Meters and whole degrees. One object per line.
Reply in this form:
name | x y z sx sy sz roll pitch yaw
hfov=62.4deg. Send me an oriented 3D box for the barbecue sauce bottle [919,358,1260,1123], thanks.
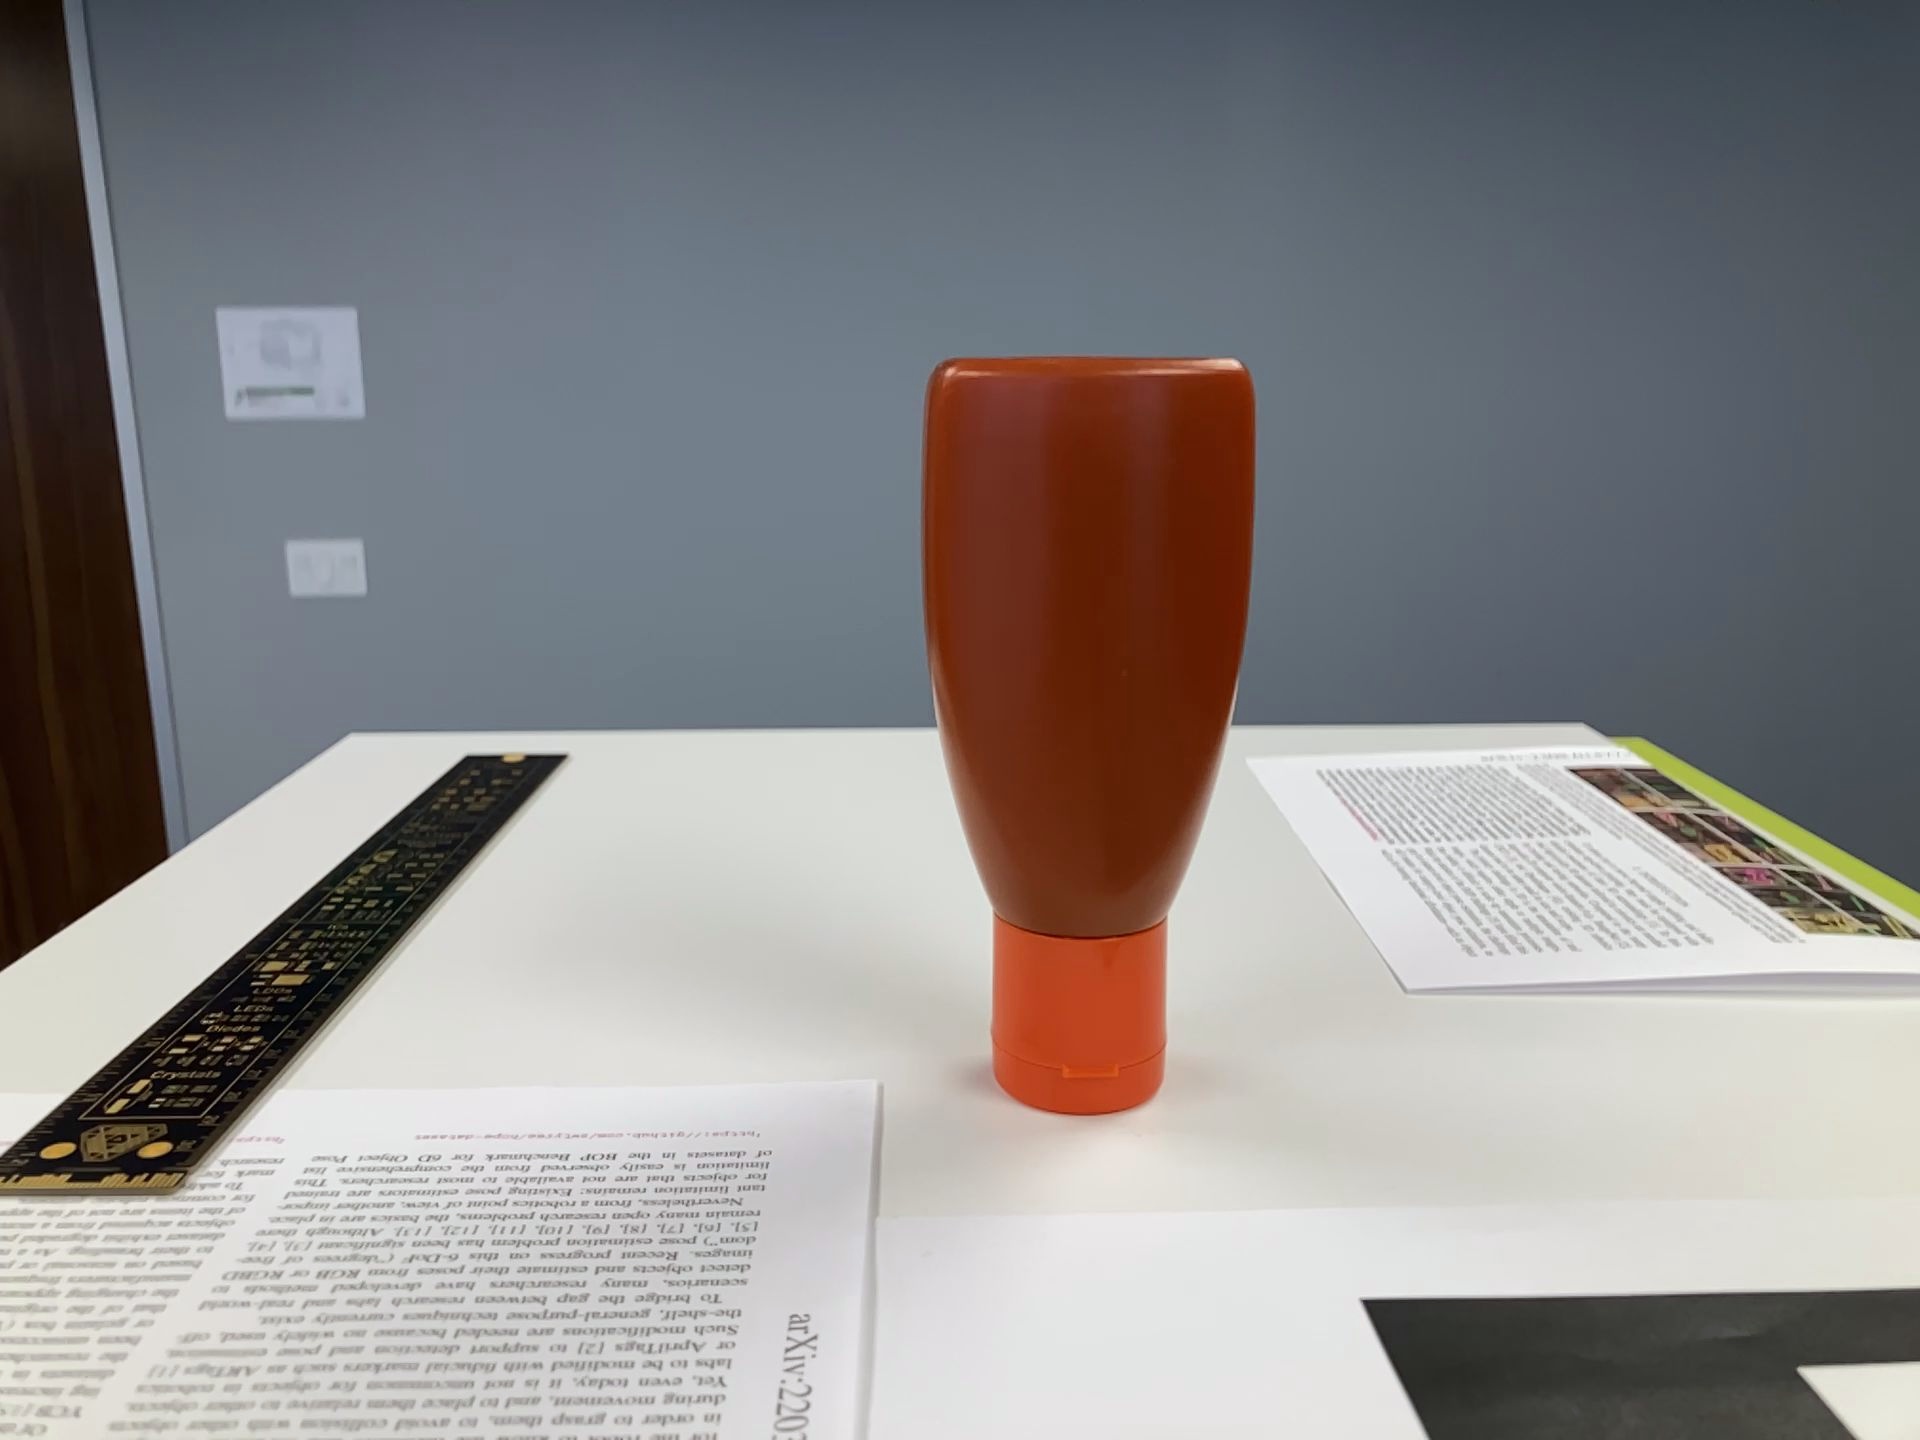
barbecue sauce bottle | 0.025 0.004 0.315 0.065 0.148 0.043 -1 12 -3
